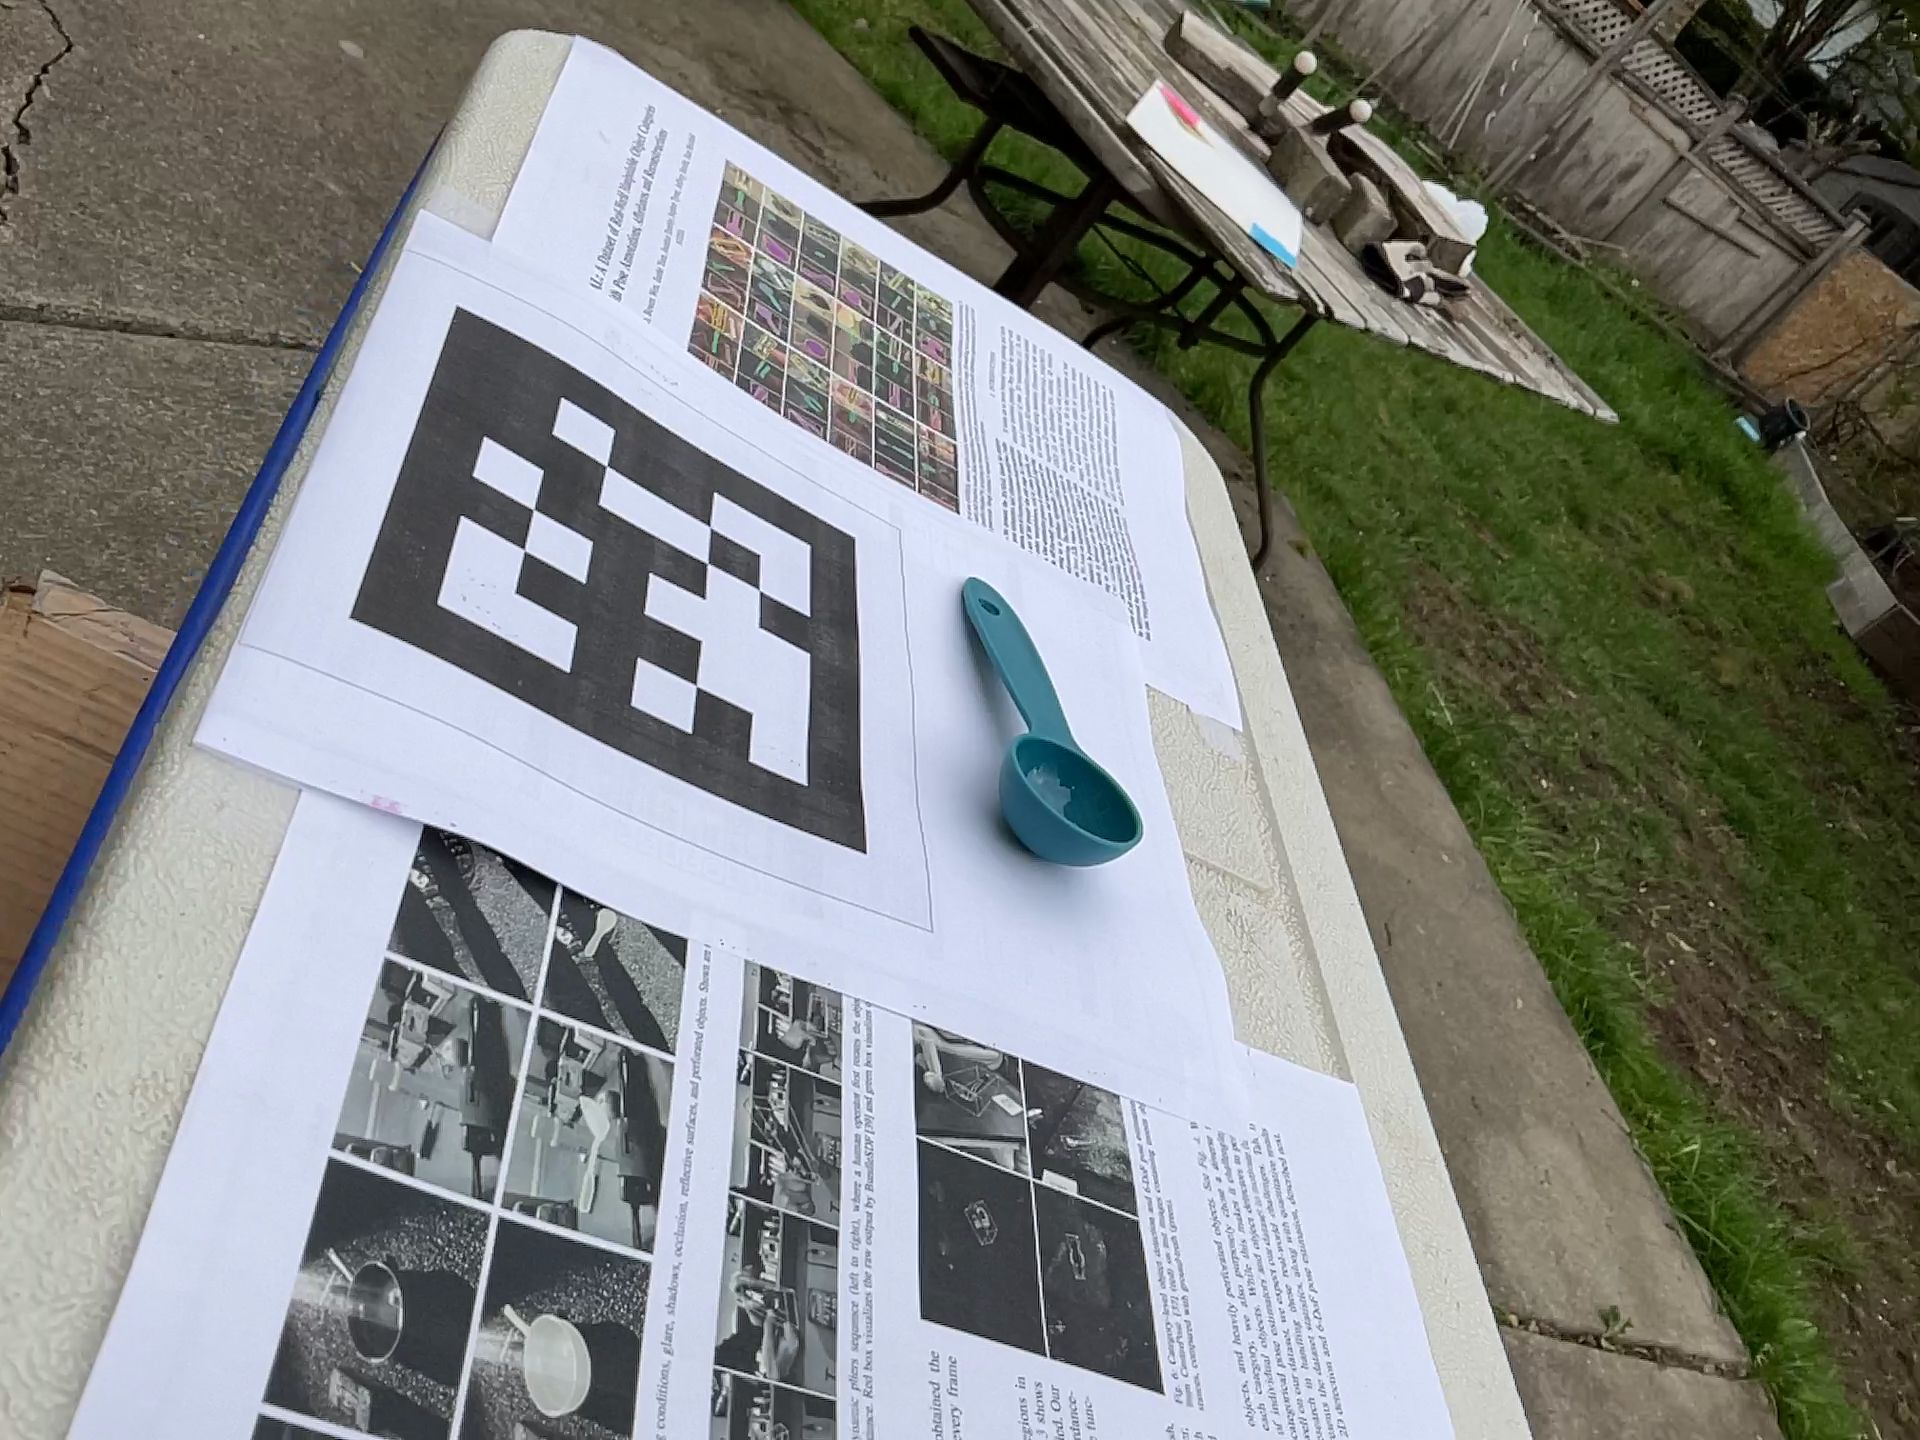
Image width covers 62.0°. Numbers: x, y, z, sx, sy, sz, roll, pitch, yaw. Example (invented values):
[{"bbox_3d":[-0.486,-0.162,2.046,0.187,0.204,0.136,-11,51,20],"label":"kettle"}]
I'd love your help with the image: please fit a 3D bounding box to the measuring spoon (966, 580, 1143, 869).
[{"bbox_3d":[0.016,0.000,0.457,0.042,0.021,0.129,23,27,-28],"label":"measuring spoon"}]
